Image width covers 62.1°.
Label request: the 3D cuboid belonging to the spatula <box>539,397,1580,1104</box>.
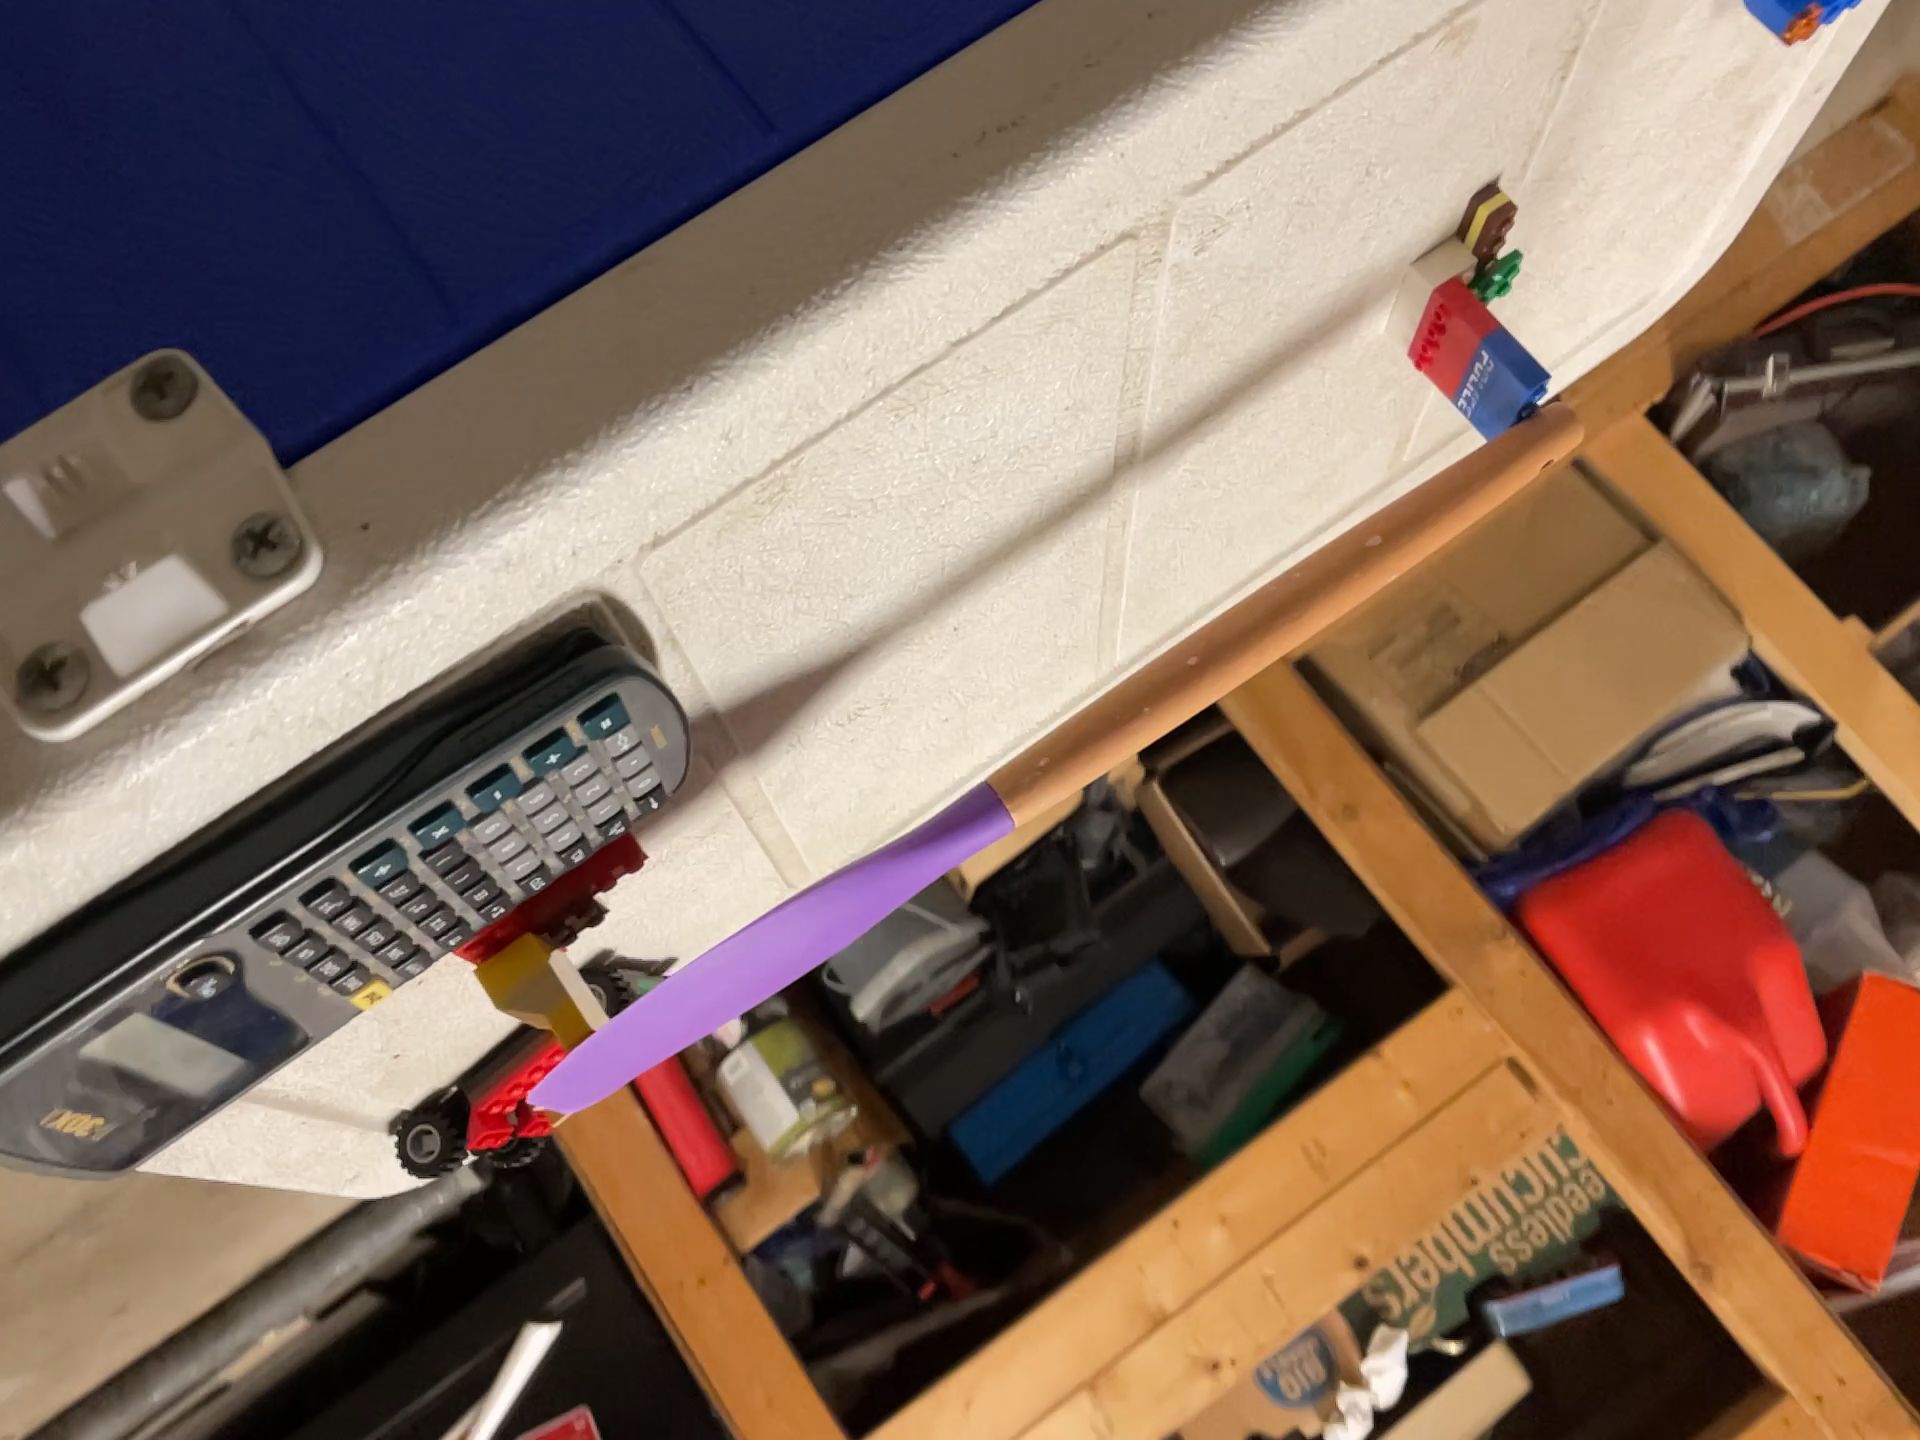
[{"bbox_3d":[0.032,0.004,0.405,0.316,0.018,0.059,-33,163,-9],"label":"spatula"}]
